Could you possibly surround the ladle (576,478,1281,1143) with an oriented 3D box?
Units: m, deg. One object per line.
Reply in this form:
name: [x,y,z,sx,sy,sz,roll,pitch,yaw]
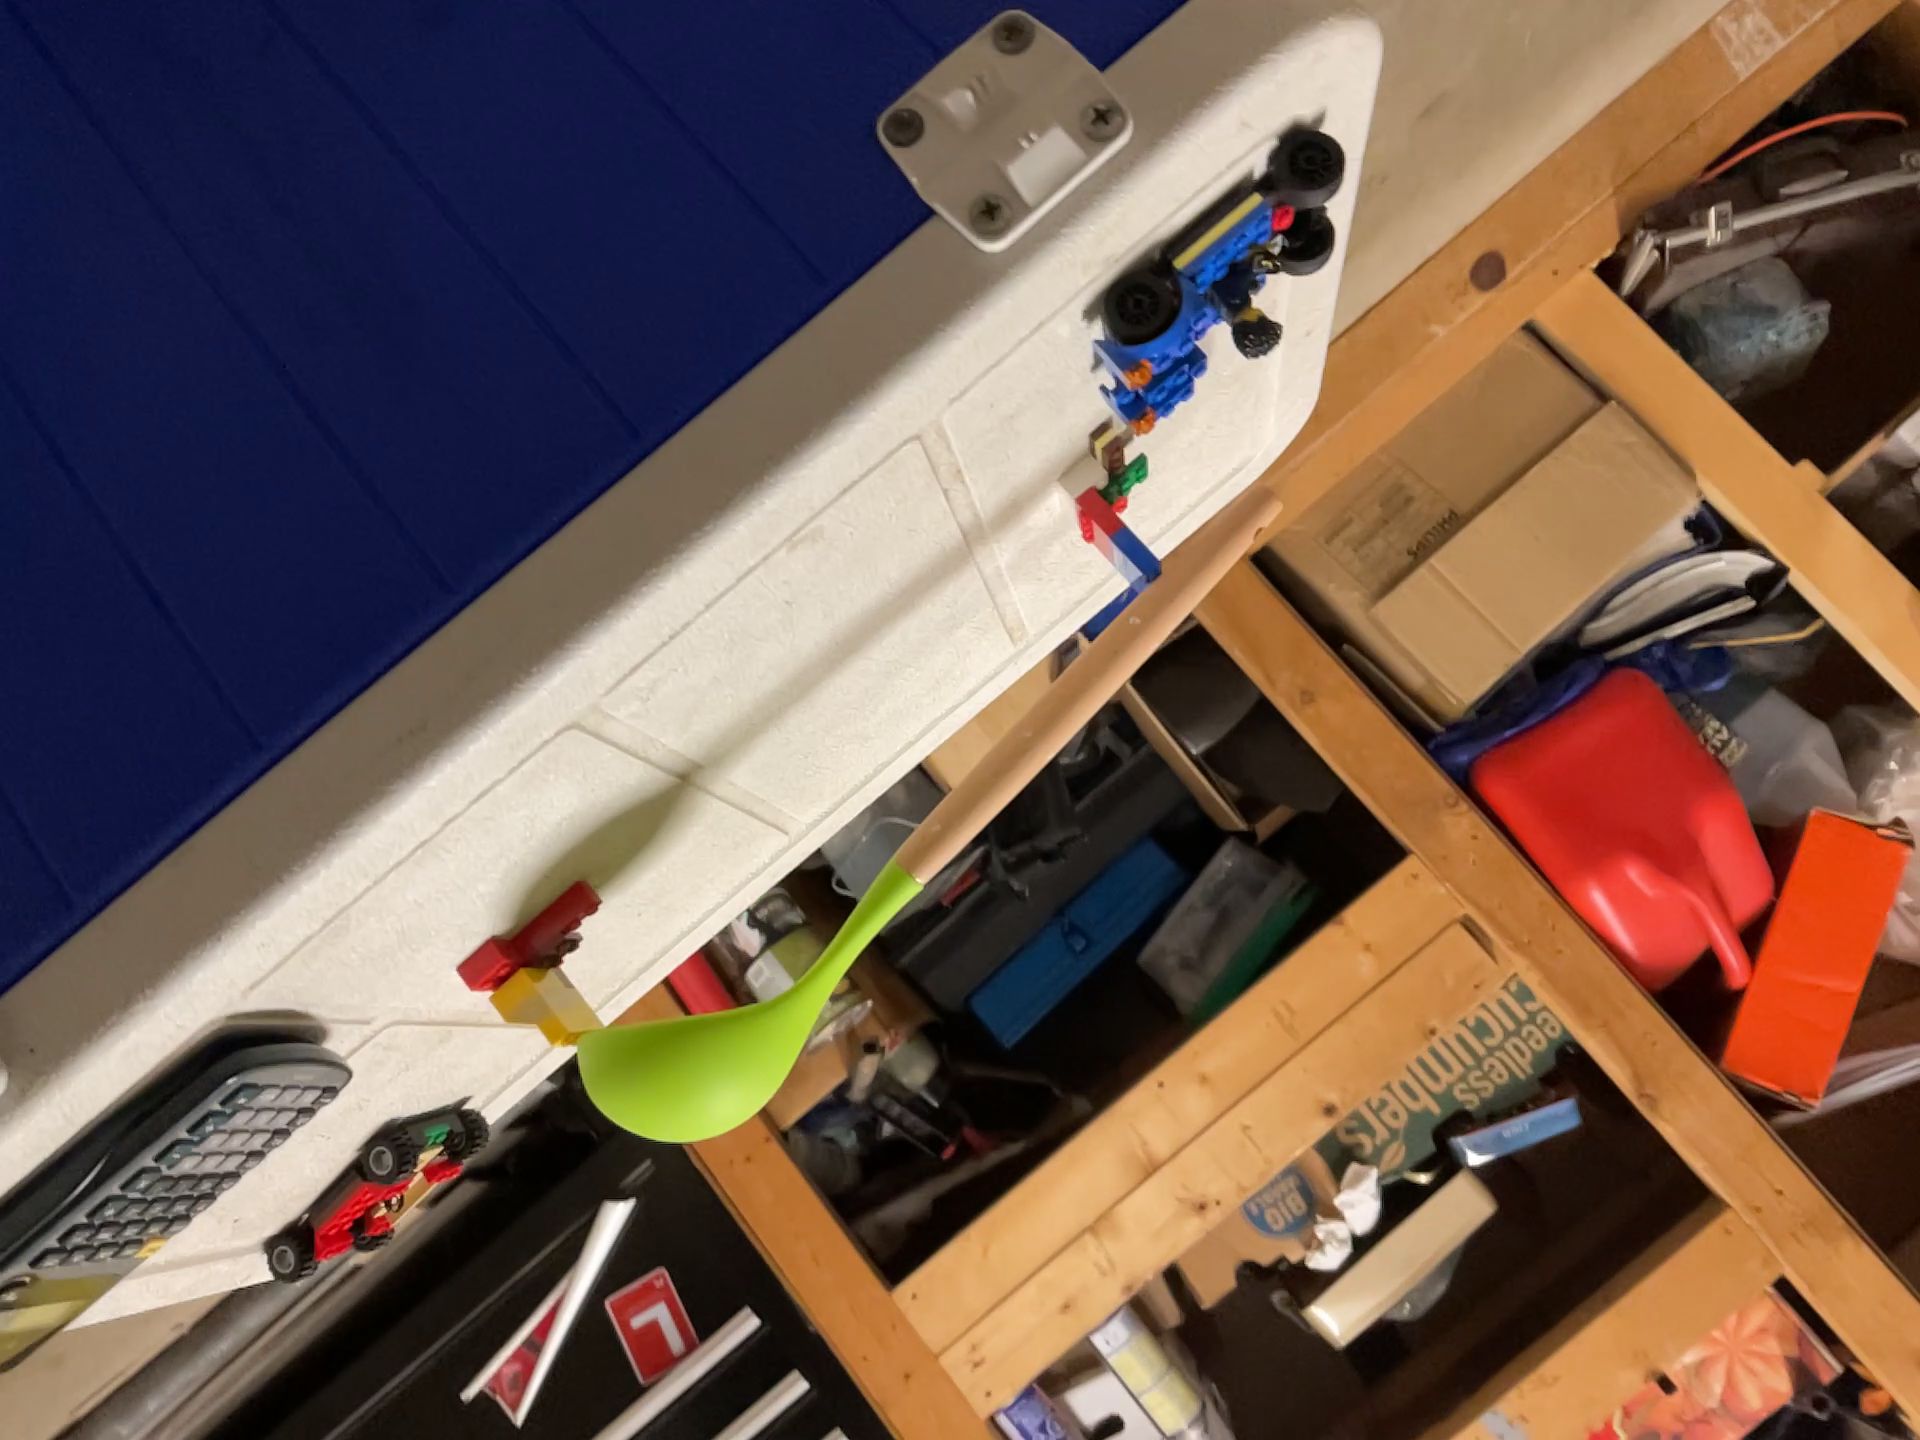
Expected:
ladle: [-0.009,0.026,0.565,0.320,0.062,0.078,-47,160,-2]
